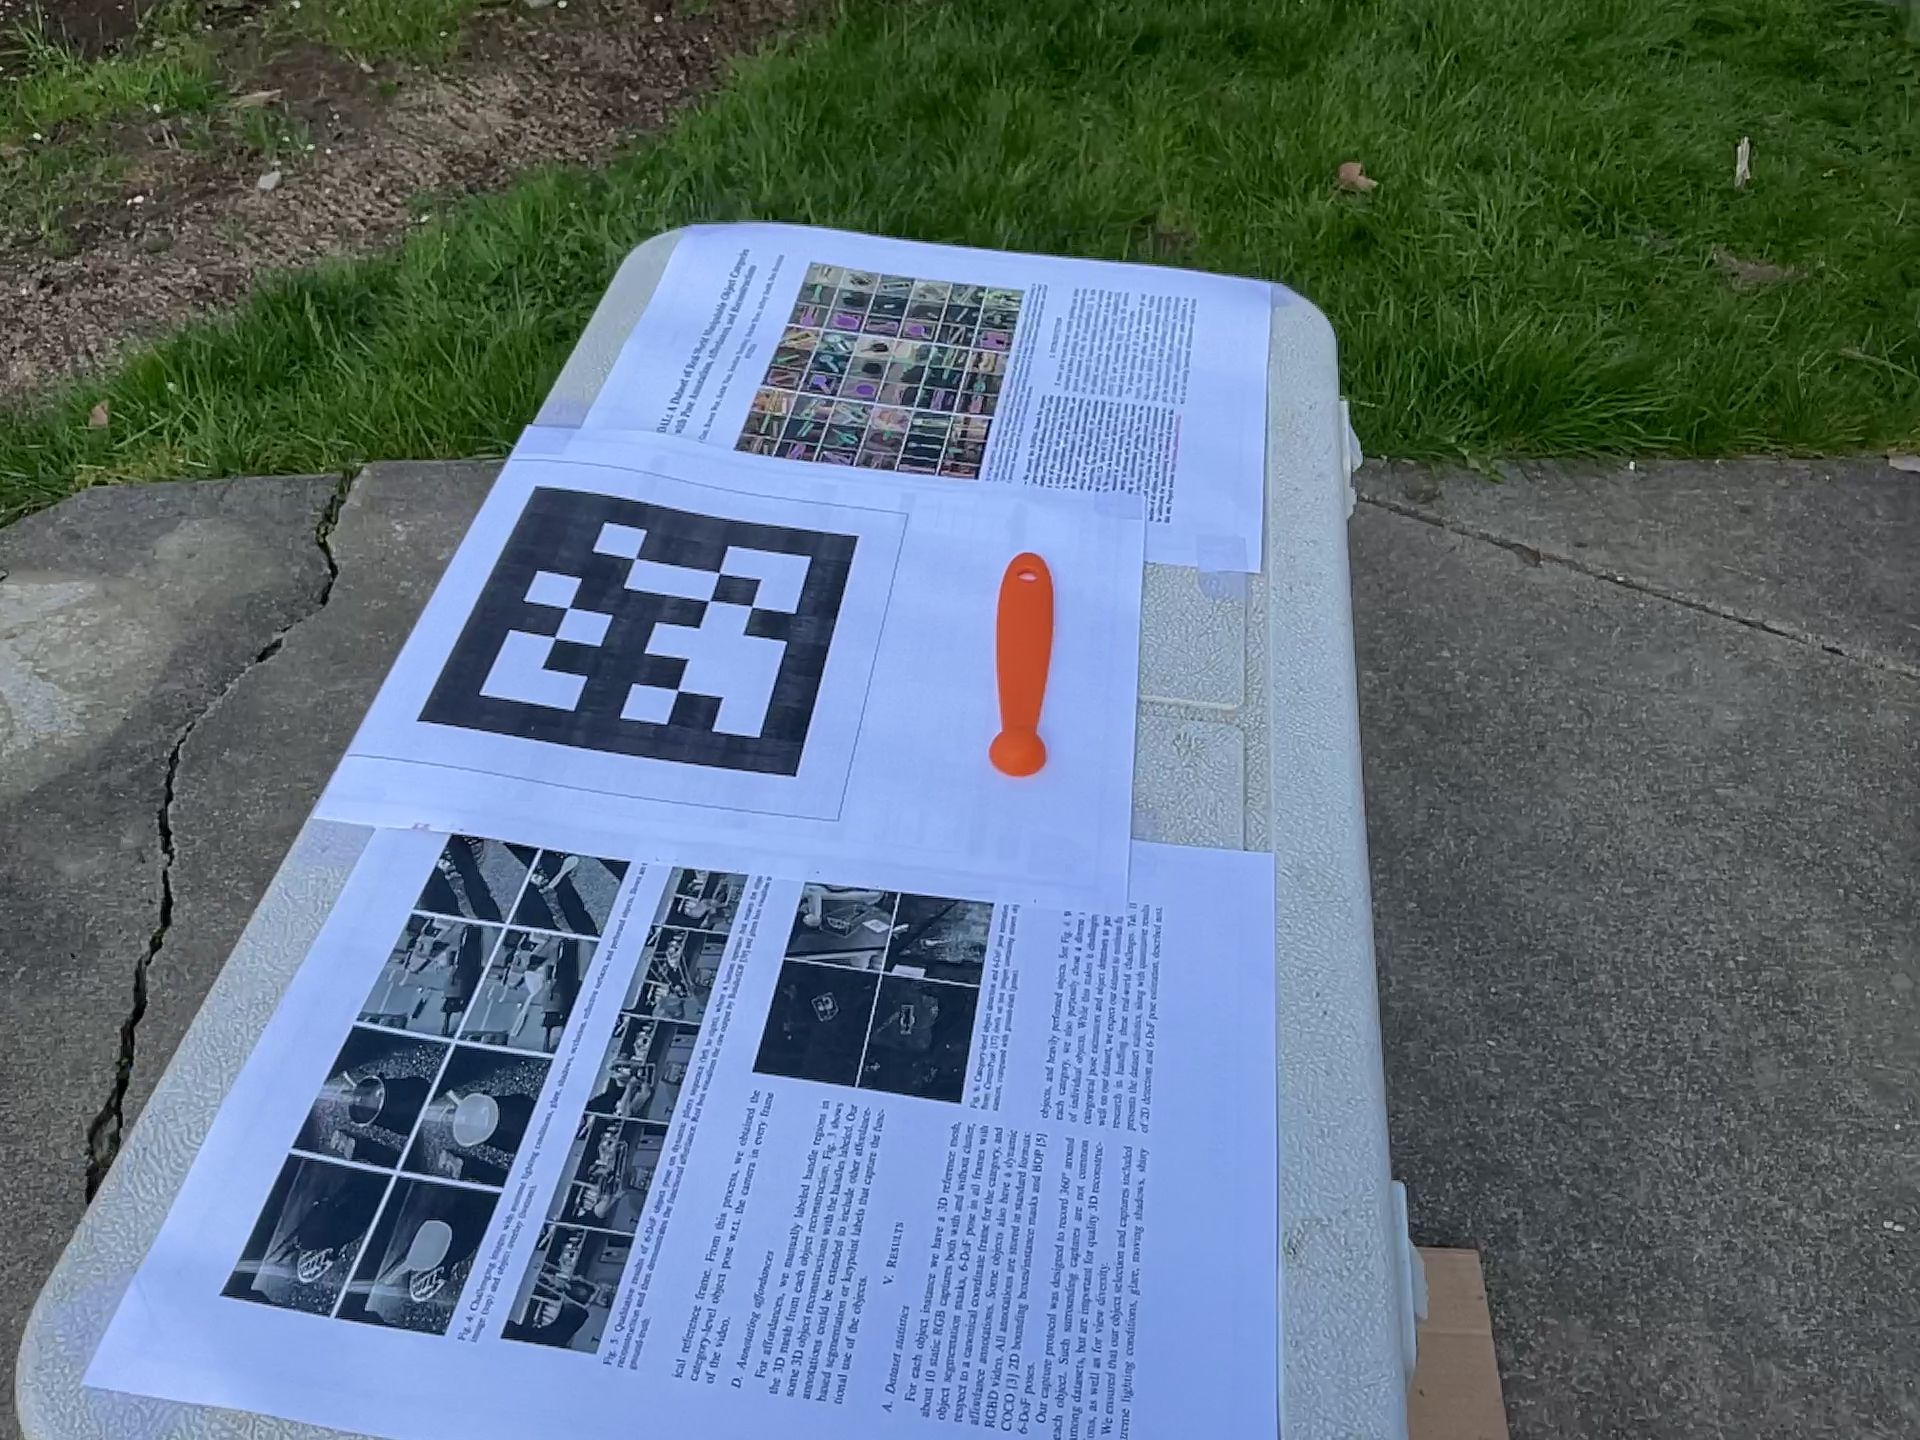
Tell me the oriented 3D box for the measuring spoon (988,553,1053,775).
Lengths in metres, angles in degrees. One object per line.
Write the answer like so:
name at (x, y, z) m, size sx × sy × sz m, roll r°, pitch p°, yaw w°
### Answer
measuring spoon at (0.023, -0.025, 0.573) m, size 0.021 × 0.011 × 0.117 m, roll 8°, pitch 44°, yaw -3°
